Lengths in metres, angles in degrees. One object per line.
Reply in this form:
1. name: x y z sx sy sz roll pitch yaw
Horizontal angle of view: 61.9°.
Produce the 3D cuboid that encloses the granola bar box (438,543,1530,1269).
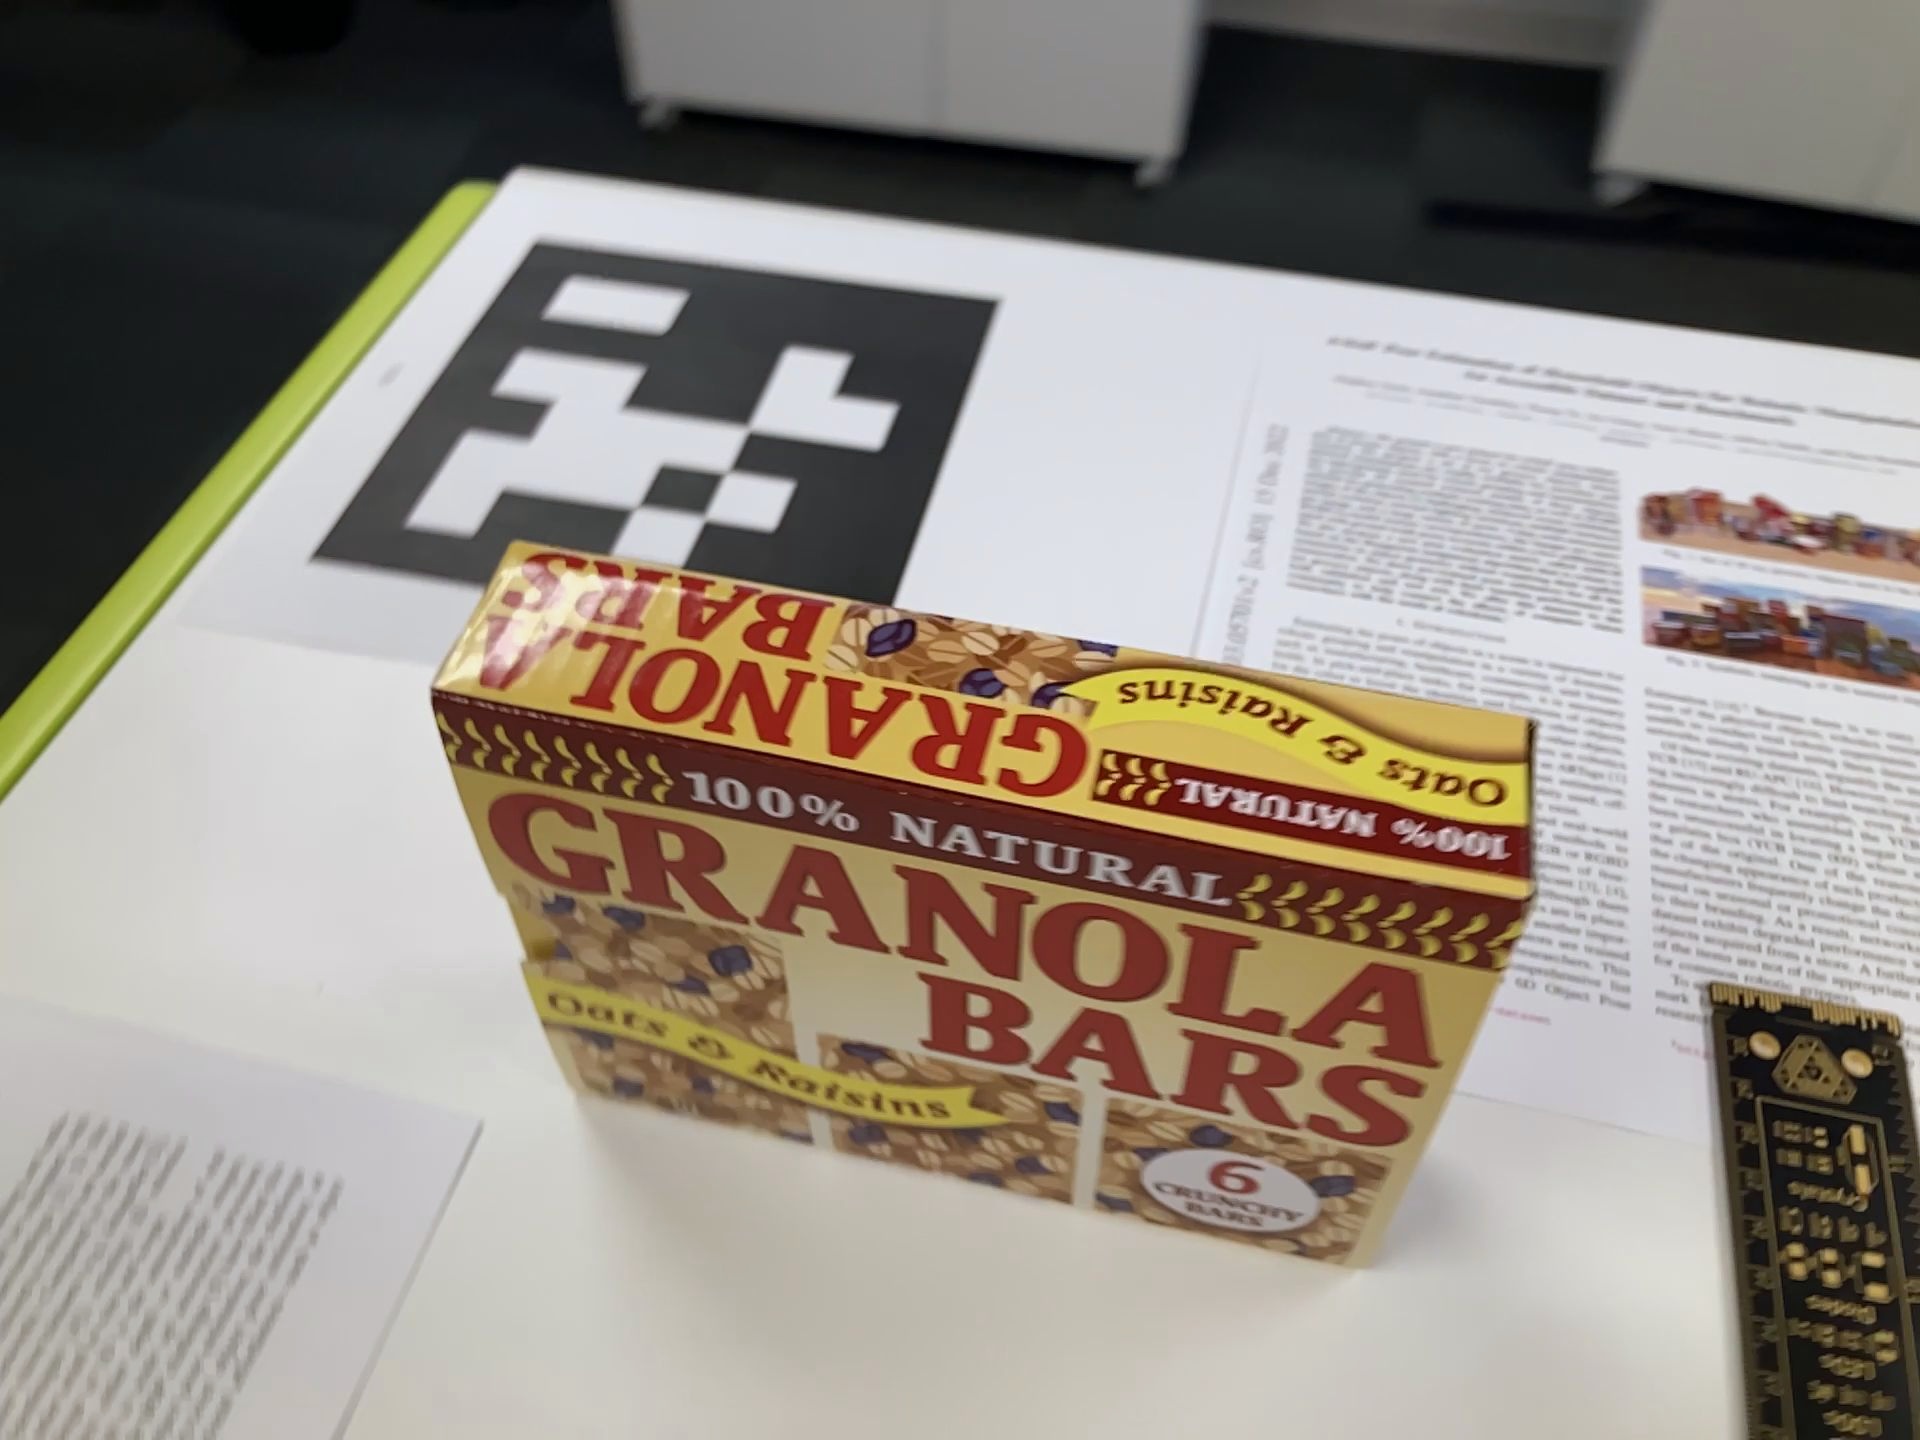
1. granola bar box: 0.002 0.039 0.287 0.165 0.124 0.039 10 48 9
